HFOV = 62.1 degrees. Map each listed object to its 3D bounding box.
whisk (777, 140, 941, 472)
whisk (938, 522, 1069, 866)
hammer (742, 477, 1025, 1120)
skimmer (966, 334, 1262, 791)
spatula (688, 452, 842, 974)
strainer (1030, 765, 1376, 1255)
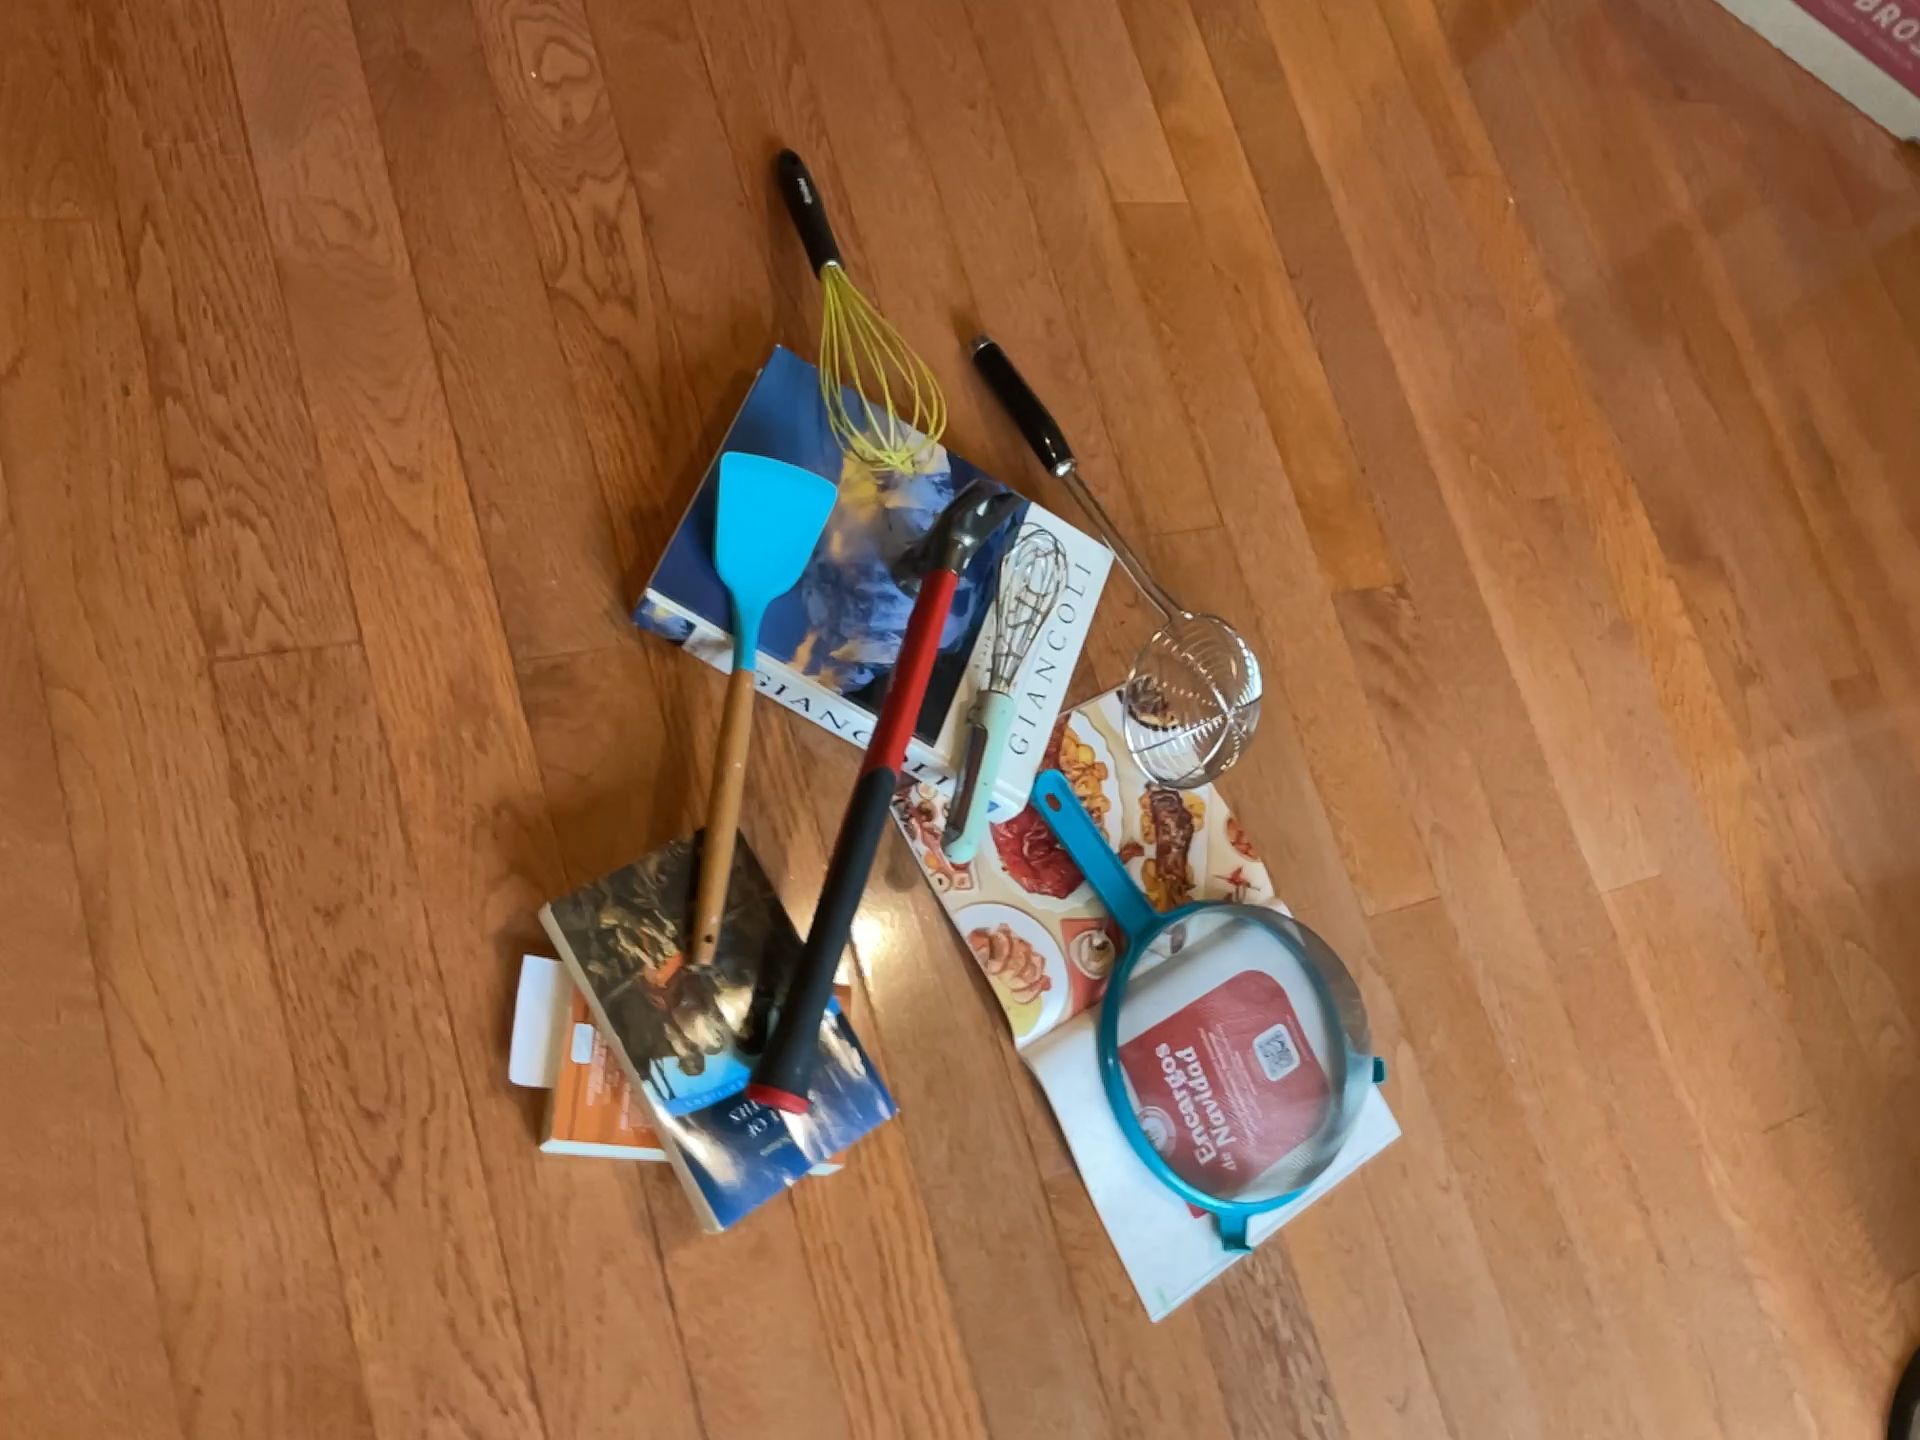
[{"bbox_3d":[-0.083,-0.292,1.101,0.080,0.067,0.312,-11,62,-15],"label":"whisk"},{"bbox_3d":[0.025,-0.020,1.044,0.059,0.057,0.247,39,58,-47],"label":"whisk"},{"bbox_3d":[-0.046,0.039,0.933,0.038,0.143,0.387,23,65,-15],"label":"hammer"},{"bbox_3d":[0.097,-0.120,1.169,0.127,0.090,0.363,-24,73,-30],"label":"skimmer"},{"bbox_3d":[-0.131,-0.007,0.952,0.082,0.044,0.318,15,65,-24],"label":"spatula"},{"bbox_3d":[0.164,0.166,1.046,0.211,0.095,0.340,-38,98,-32],"label":"strainer"}]
